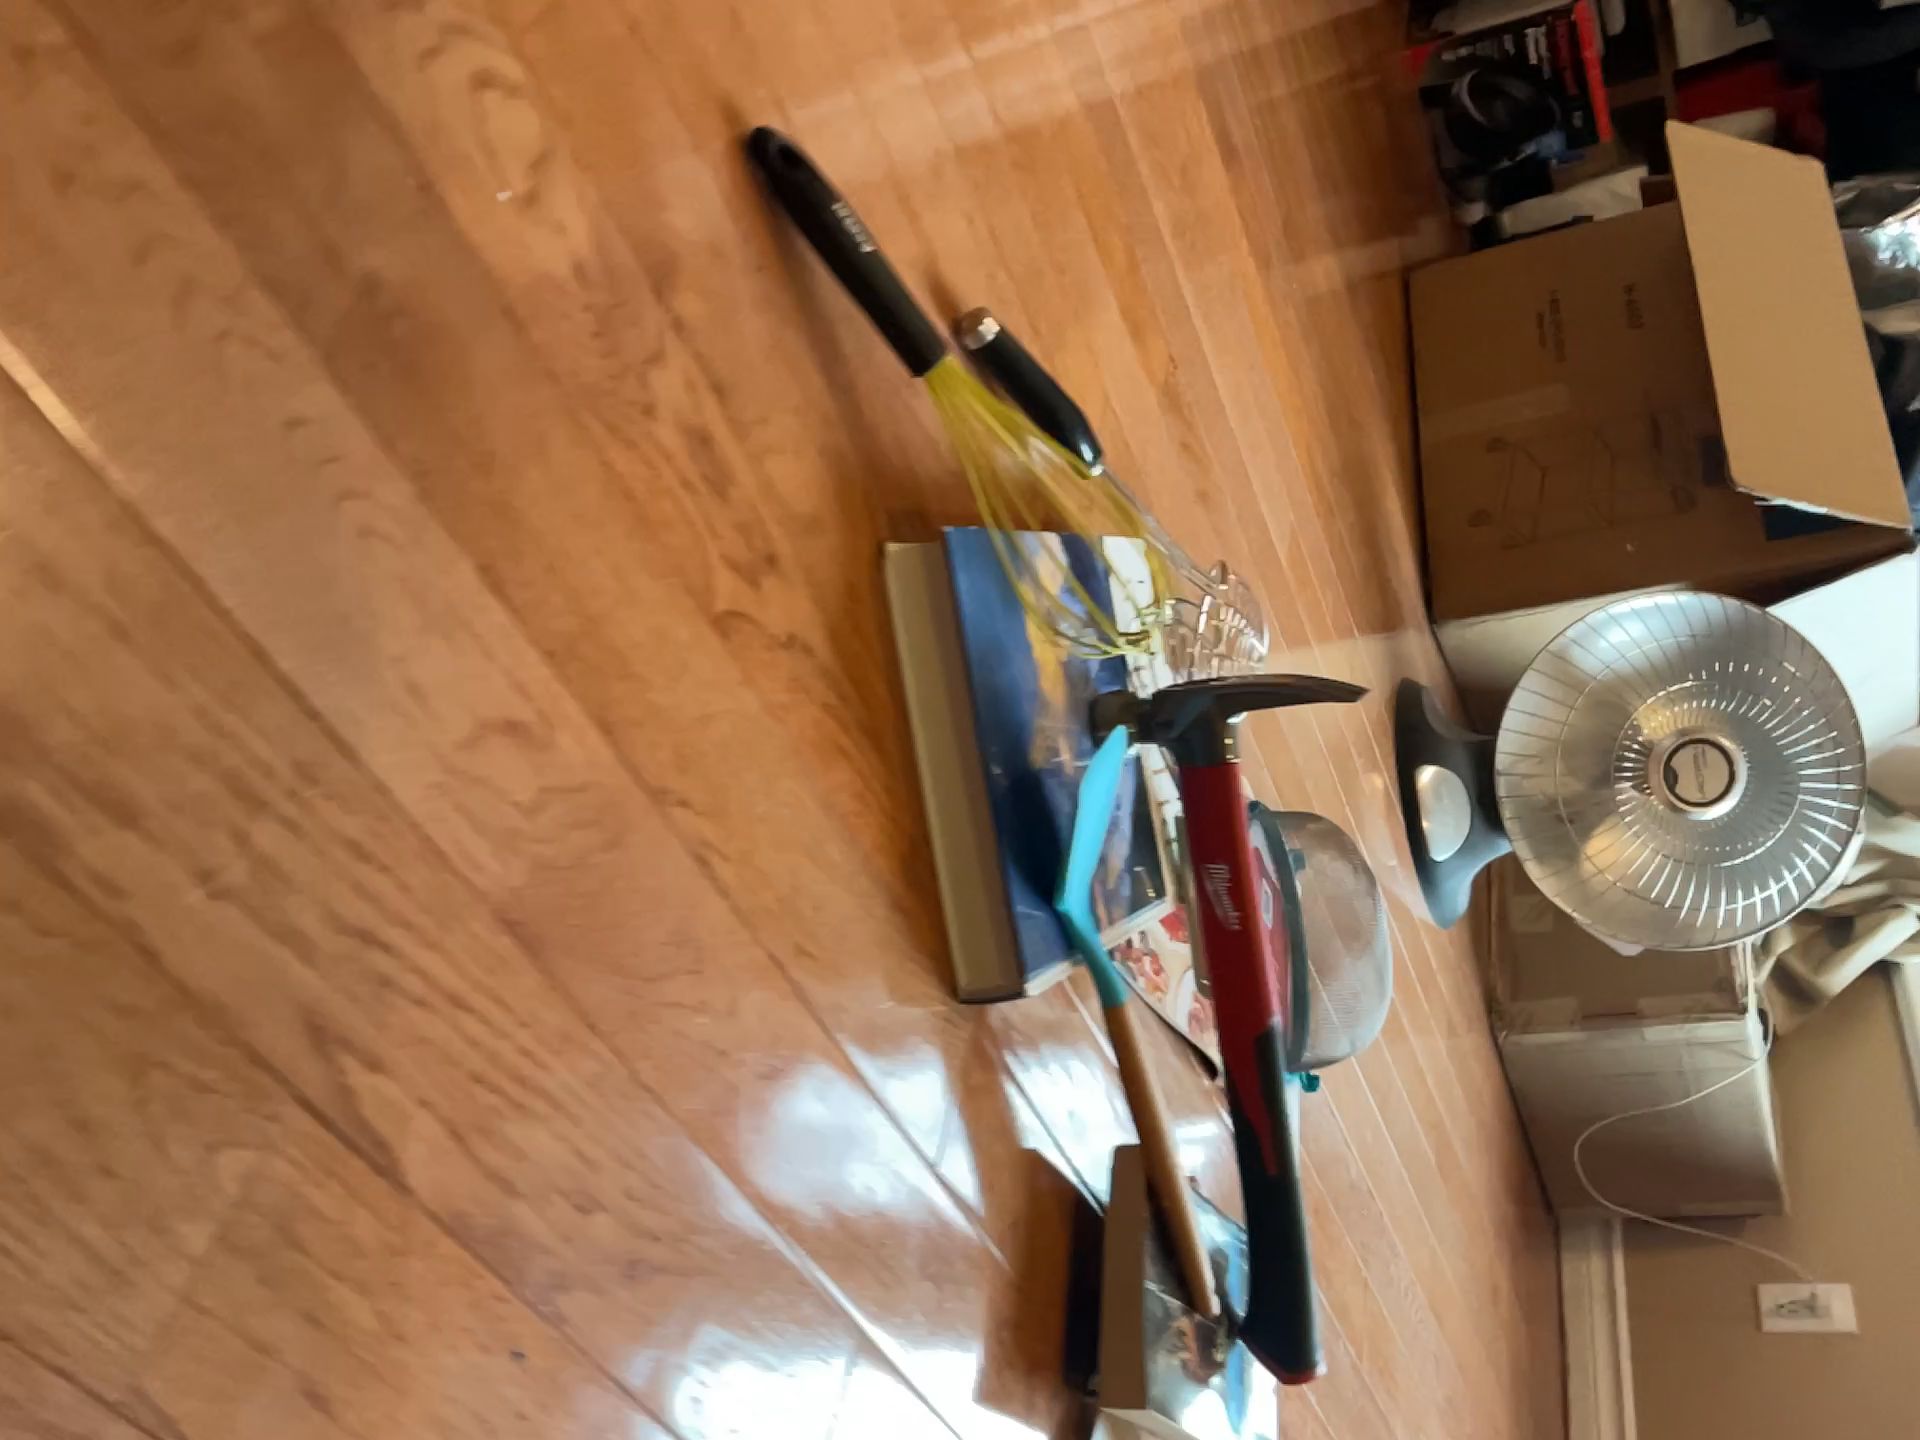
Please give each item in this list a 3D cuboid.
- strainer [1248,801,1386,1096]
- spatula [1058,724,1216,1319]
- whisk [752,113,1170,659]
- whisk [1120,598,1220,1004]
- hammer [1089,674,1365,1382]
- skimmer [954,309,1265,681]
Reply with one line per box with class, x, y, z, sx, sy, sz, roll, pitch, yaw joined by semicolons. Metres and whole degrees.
strainer;0.239;0.136;1.112;0.340;0.095;0.211;49;40;-59
spatula;0.093;0.162;0.789;0.082;0.044;0.317;-46;123;-62
whisk;0.002;-0.146;0.741;0.311;0.067;0.080;51;51;-23
whisk;0.133;0.048;0.924;0.059;0.058;0.246;-132;-147;-79
hammer;0.168;0.168;0.852;0.038;0.143;0.386;-22;104;-61
skimmer;0.088;-0.111;0.983;0.363;0.090;0.128;41;47;-38
